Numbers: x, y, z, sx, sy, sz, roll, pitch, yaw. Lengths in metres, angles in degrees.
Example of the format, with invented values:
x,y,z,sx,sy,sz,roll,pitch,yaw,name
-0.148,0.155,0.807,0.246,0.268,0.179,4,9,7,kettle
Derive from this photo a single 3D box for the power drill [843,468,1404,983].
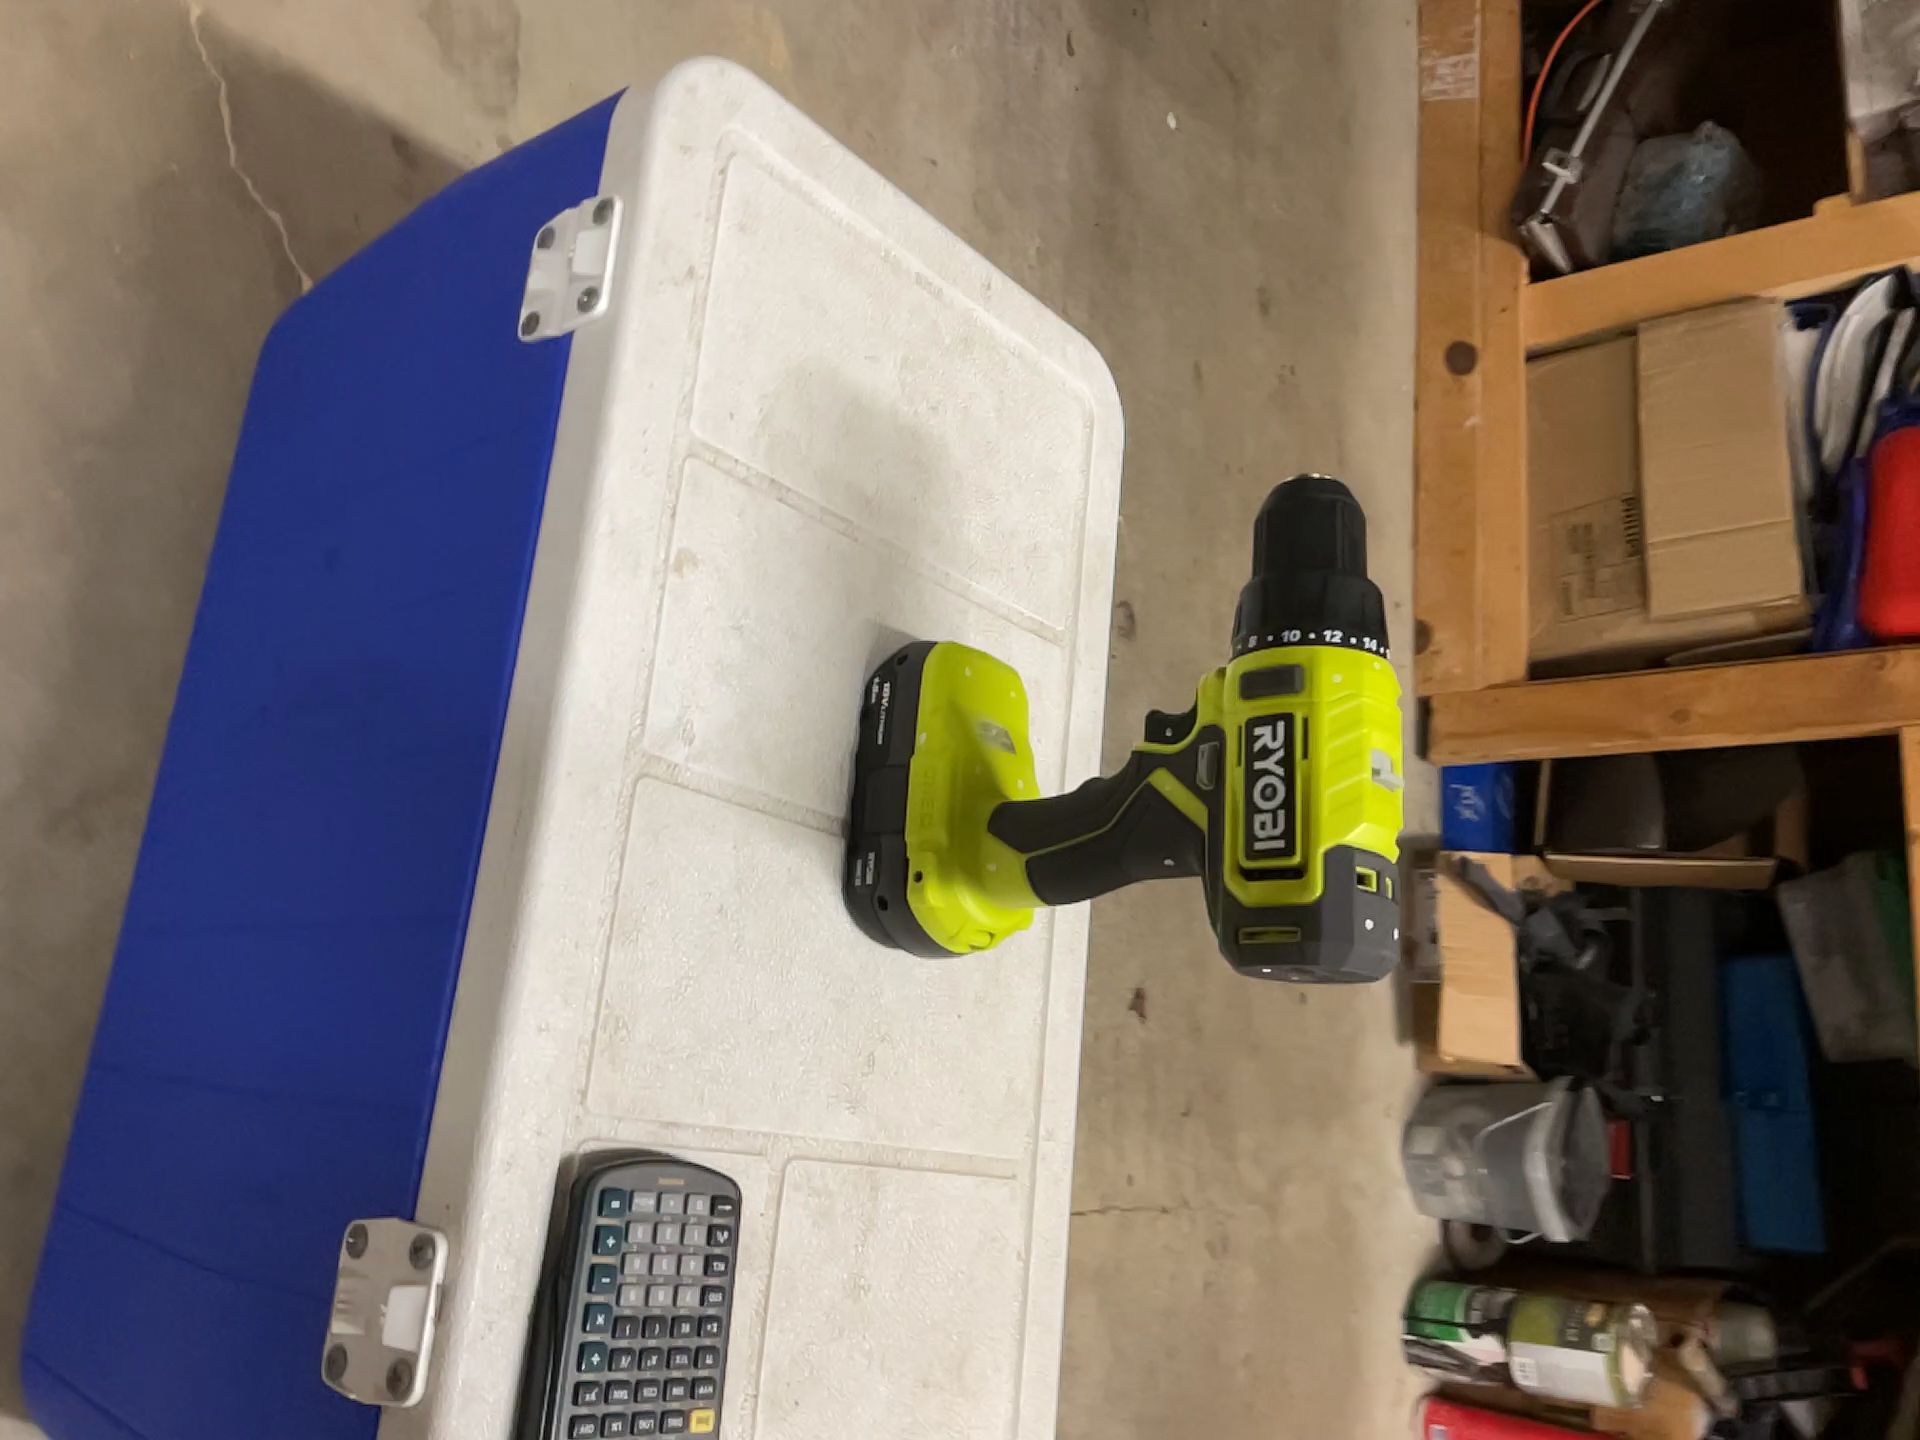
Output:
x,y,z,sx,sy,sz,roll,pitch,yaw,name
0.066,0.009,0.637,0.080,0.228,0.191,22,65,-48,power drill
